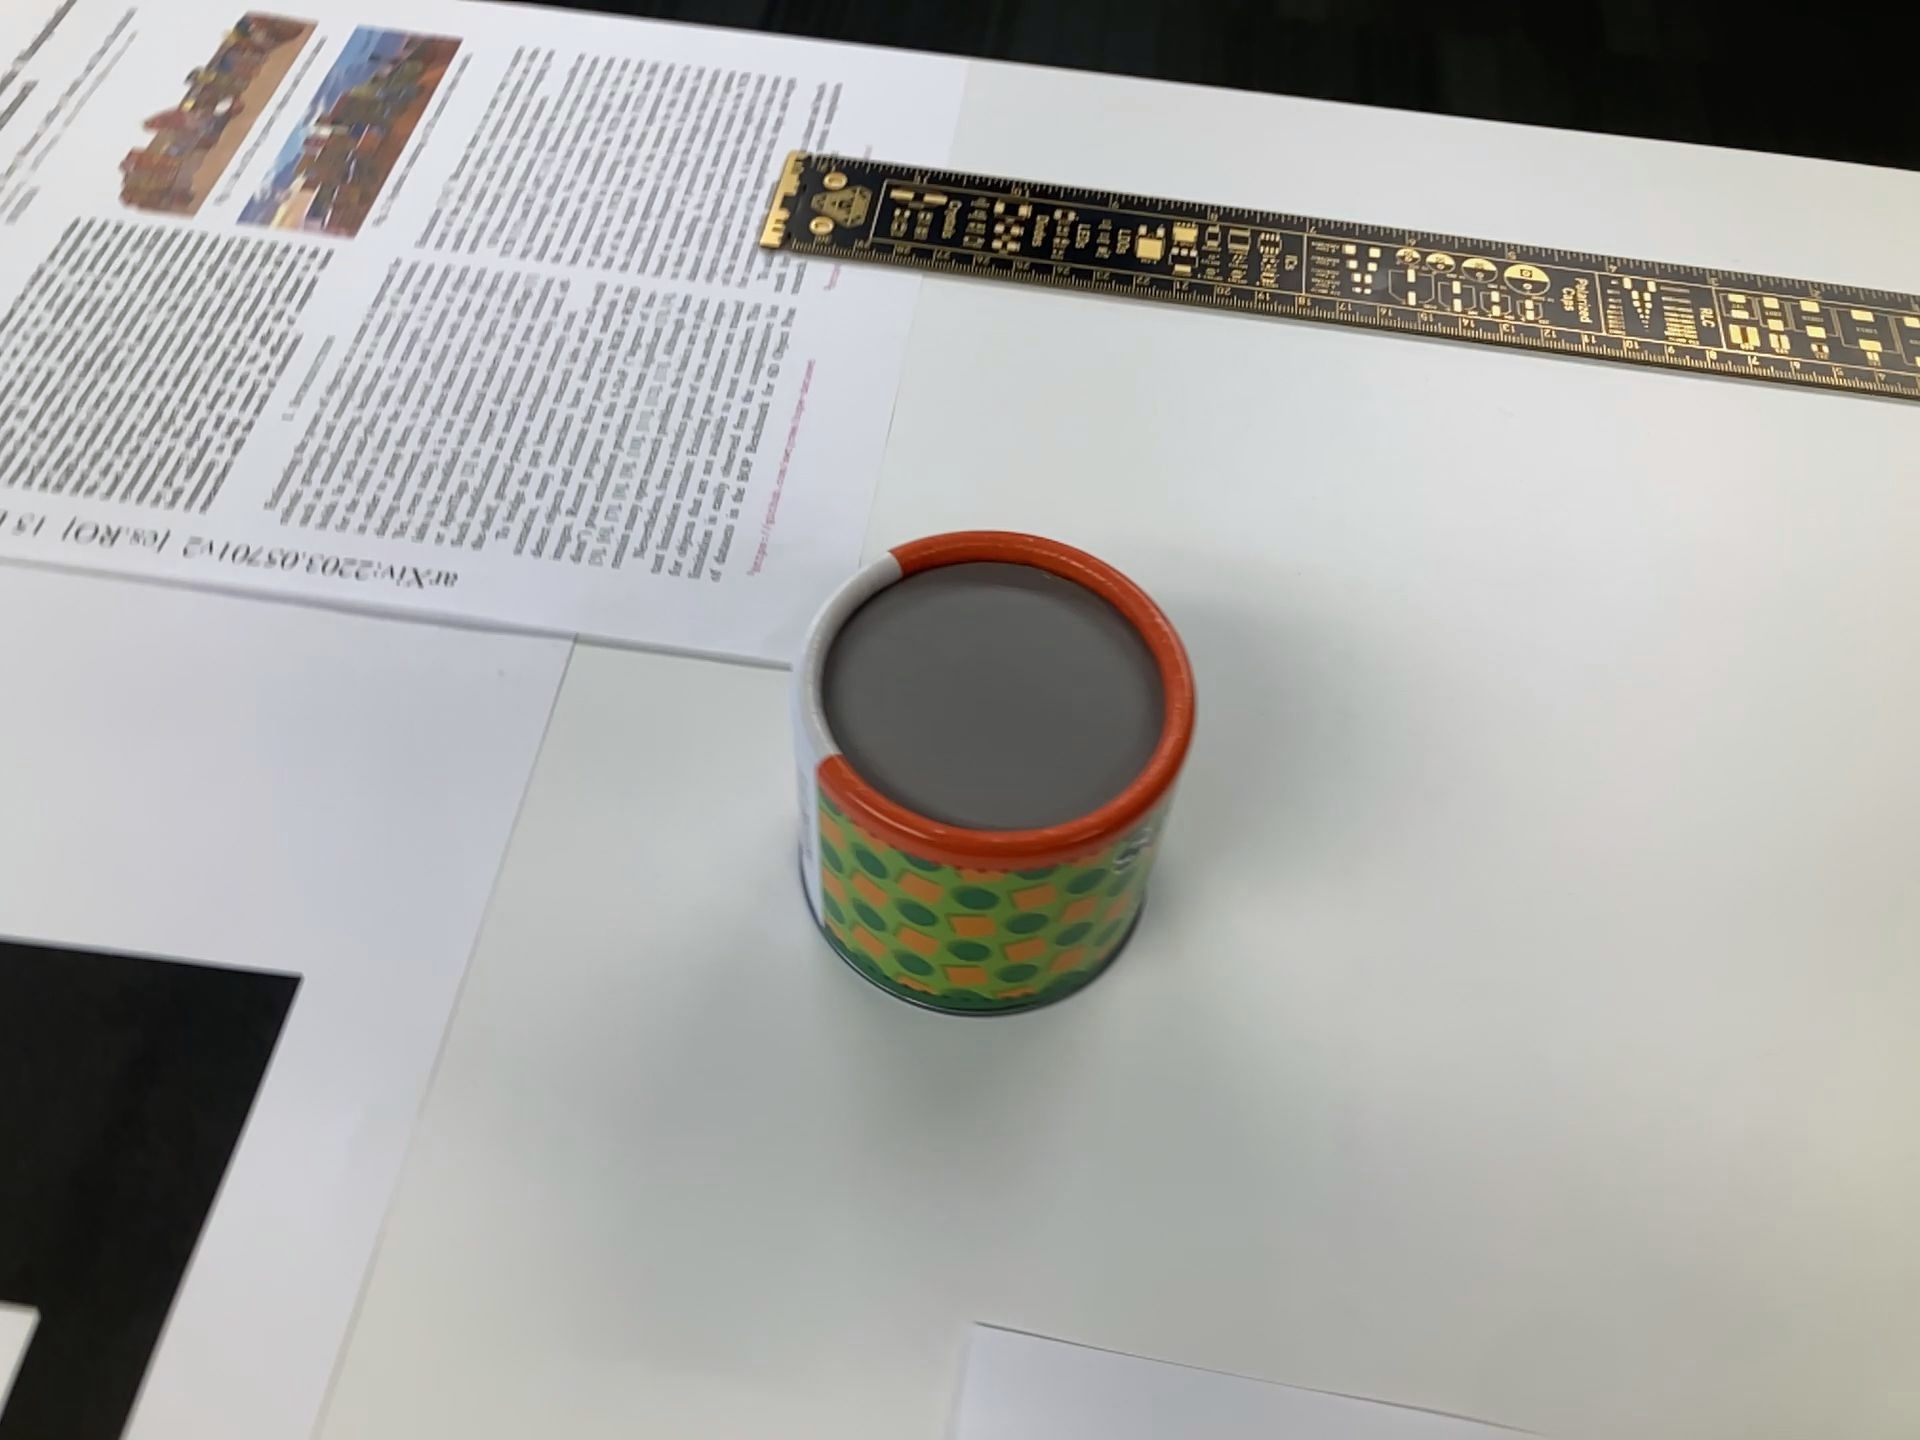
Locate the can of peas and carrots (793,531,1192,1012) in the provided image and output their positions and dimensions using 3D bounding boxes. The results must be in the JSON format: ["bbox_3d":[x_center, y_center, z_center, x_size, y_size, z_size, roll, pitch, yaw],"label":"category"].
[{"bbox_3d":[0.006,0.010,0.281,0.071,0.059,0.071,2,56,-2],"label":"can of peas and carrots"}]
